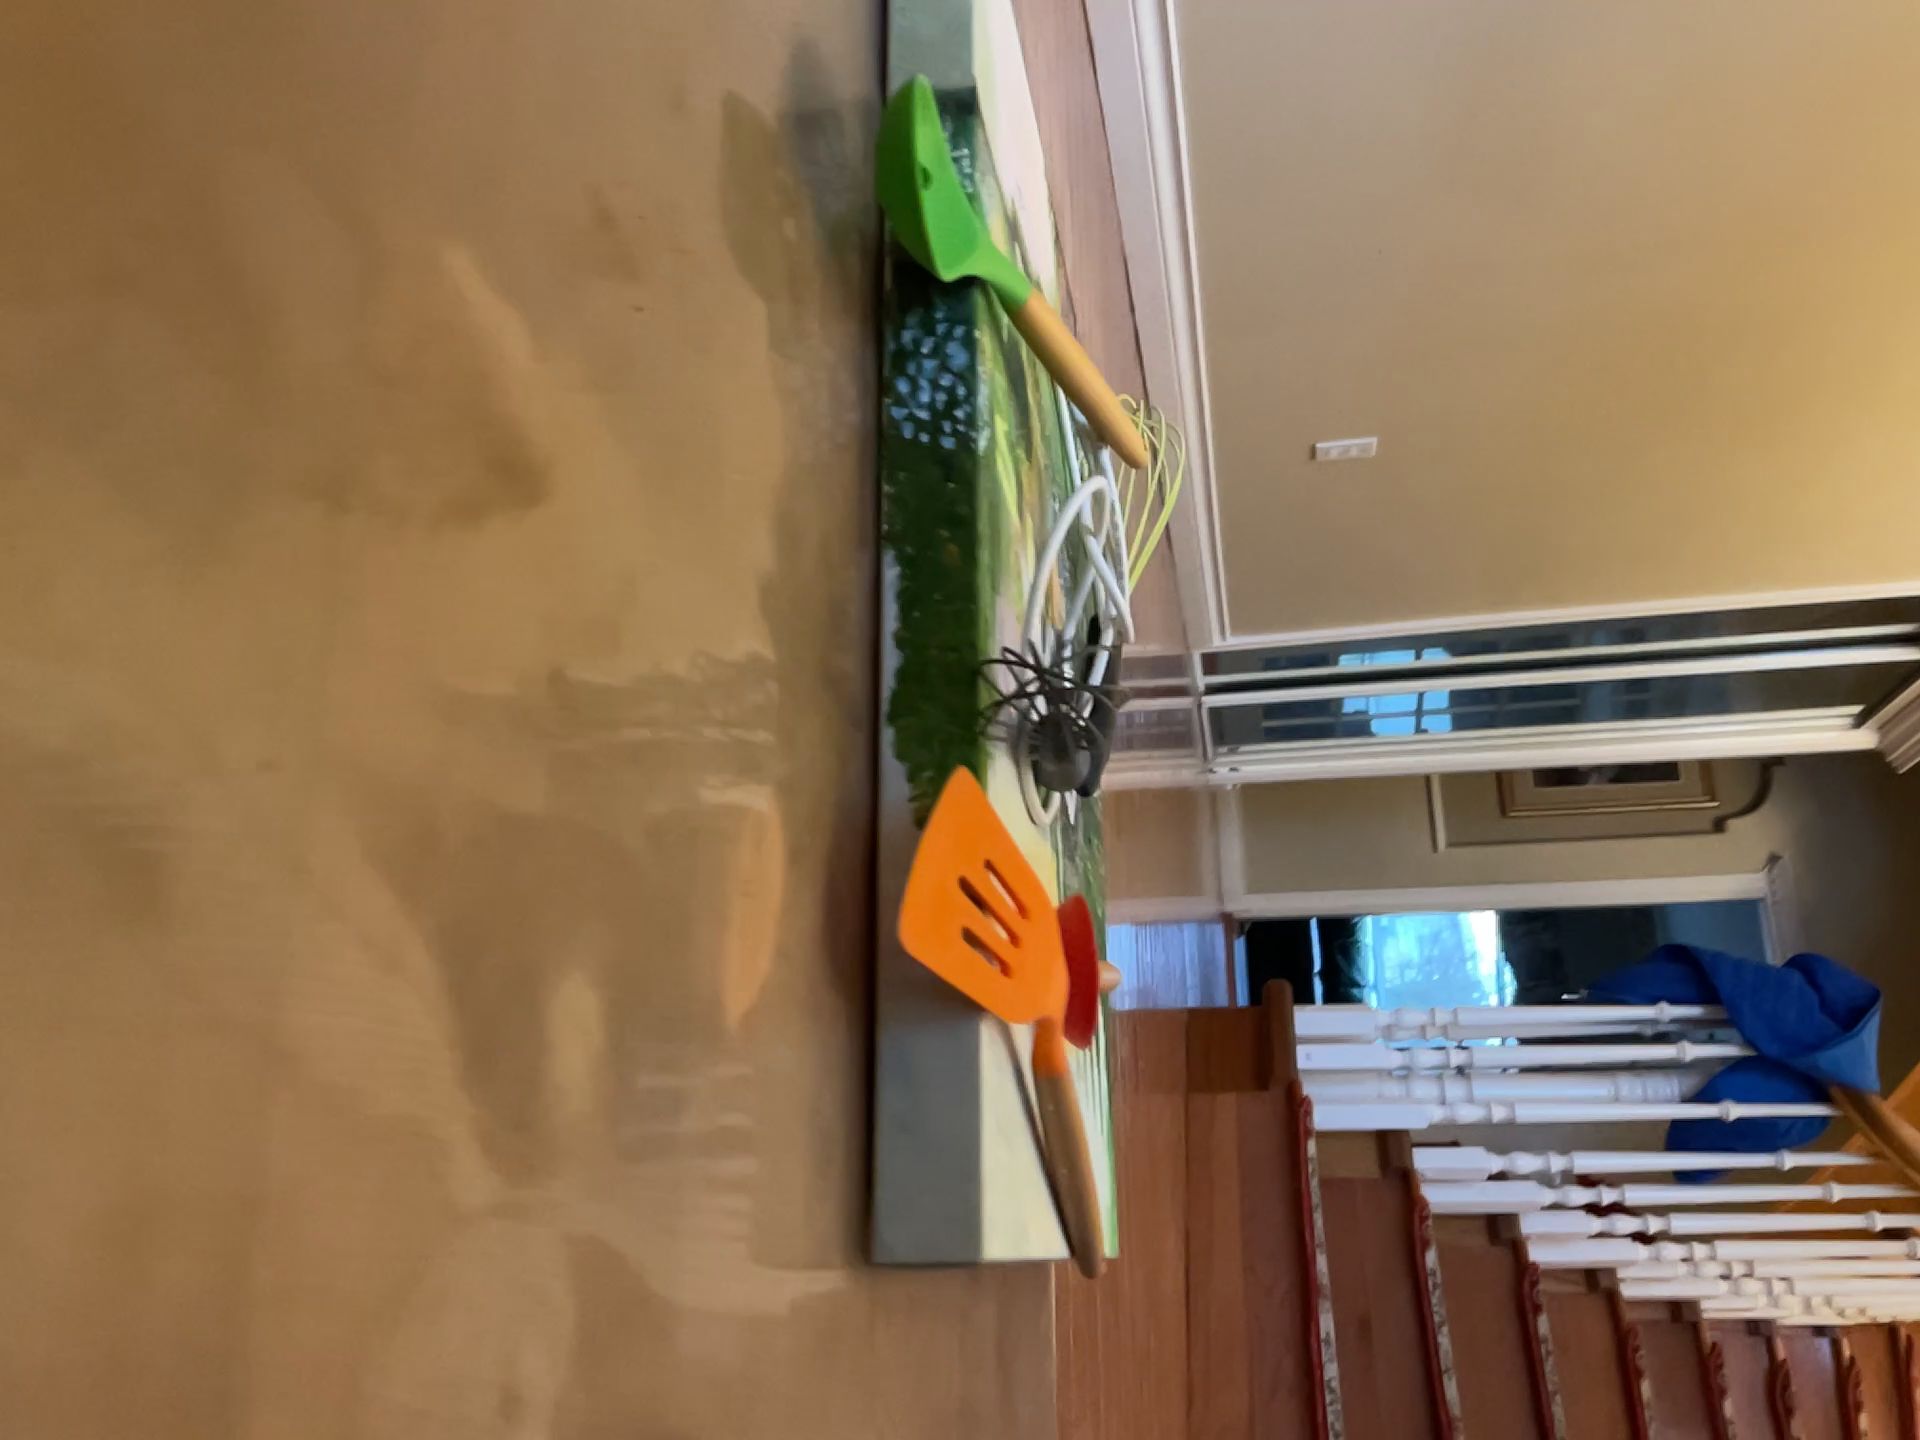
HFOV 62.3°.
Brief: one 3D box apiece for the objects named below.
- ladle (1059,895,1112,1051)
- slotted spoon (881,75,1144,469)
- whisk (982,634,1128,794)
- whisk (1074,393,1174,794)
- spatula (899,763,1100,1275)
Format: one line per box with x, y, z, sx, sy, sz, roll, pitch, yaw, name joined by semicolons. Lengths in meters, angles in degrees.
0.069;0.133;0.830;0.315;0.031;0.069;50;38;-78;ladle
0.033;-0.175;0.705;0.313;0.031;0.070;32;53;-63;slotted spoon
0.043;0.006;0.676;0.239;0.055;0.055;65;33;-79;whisk
0.092;-0.086;0.989;0.079;0.067;0.312;65;29;-51;whisk
0.030;0.151;0.651;0.322;0.041;0.081;78;24;-46;spatula
